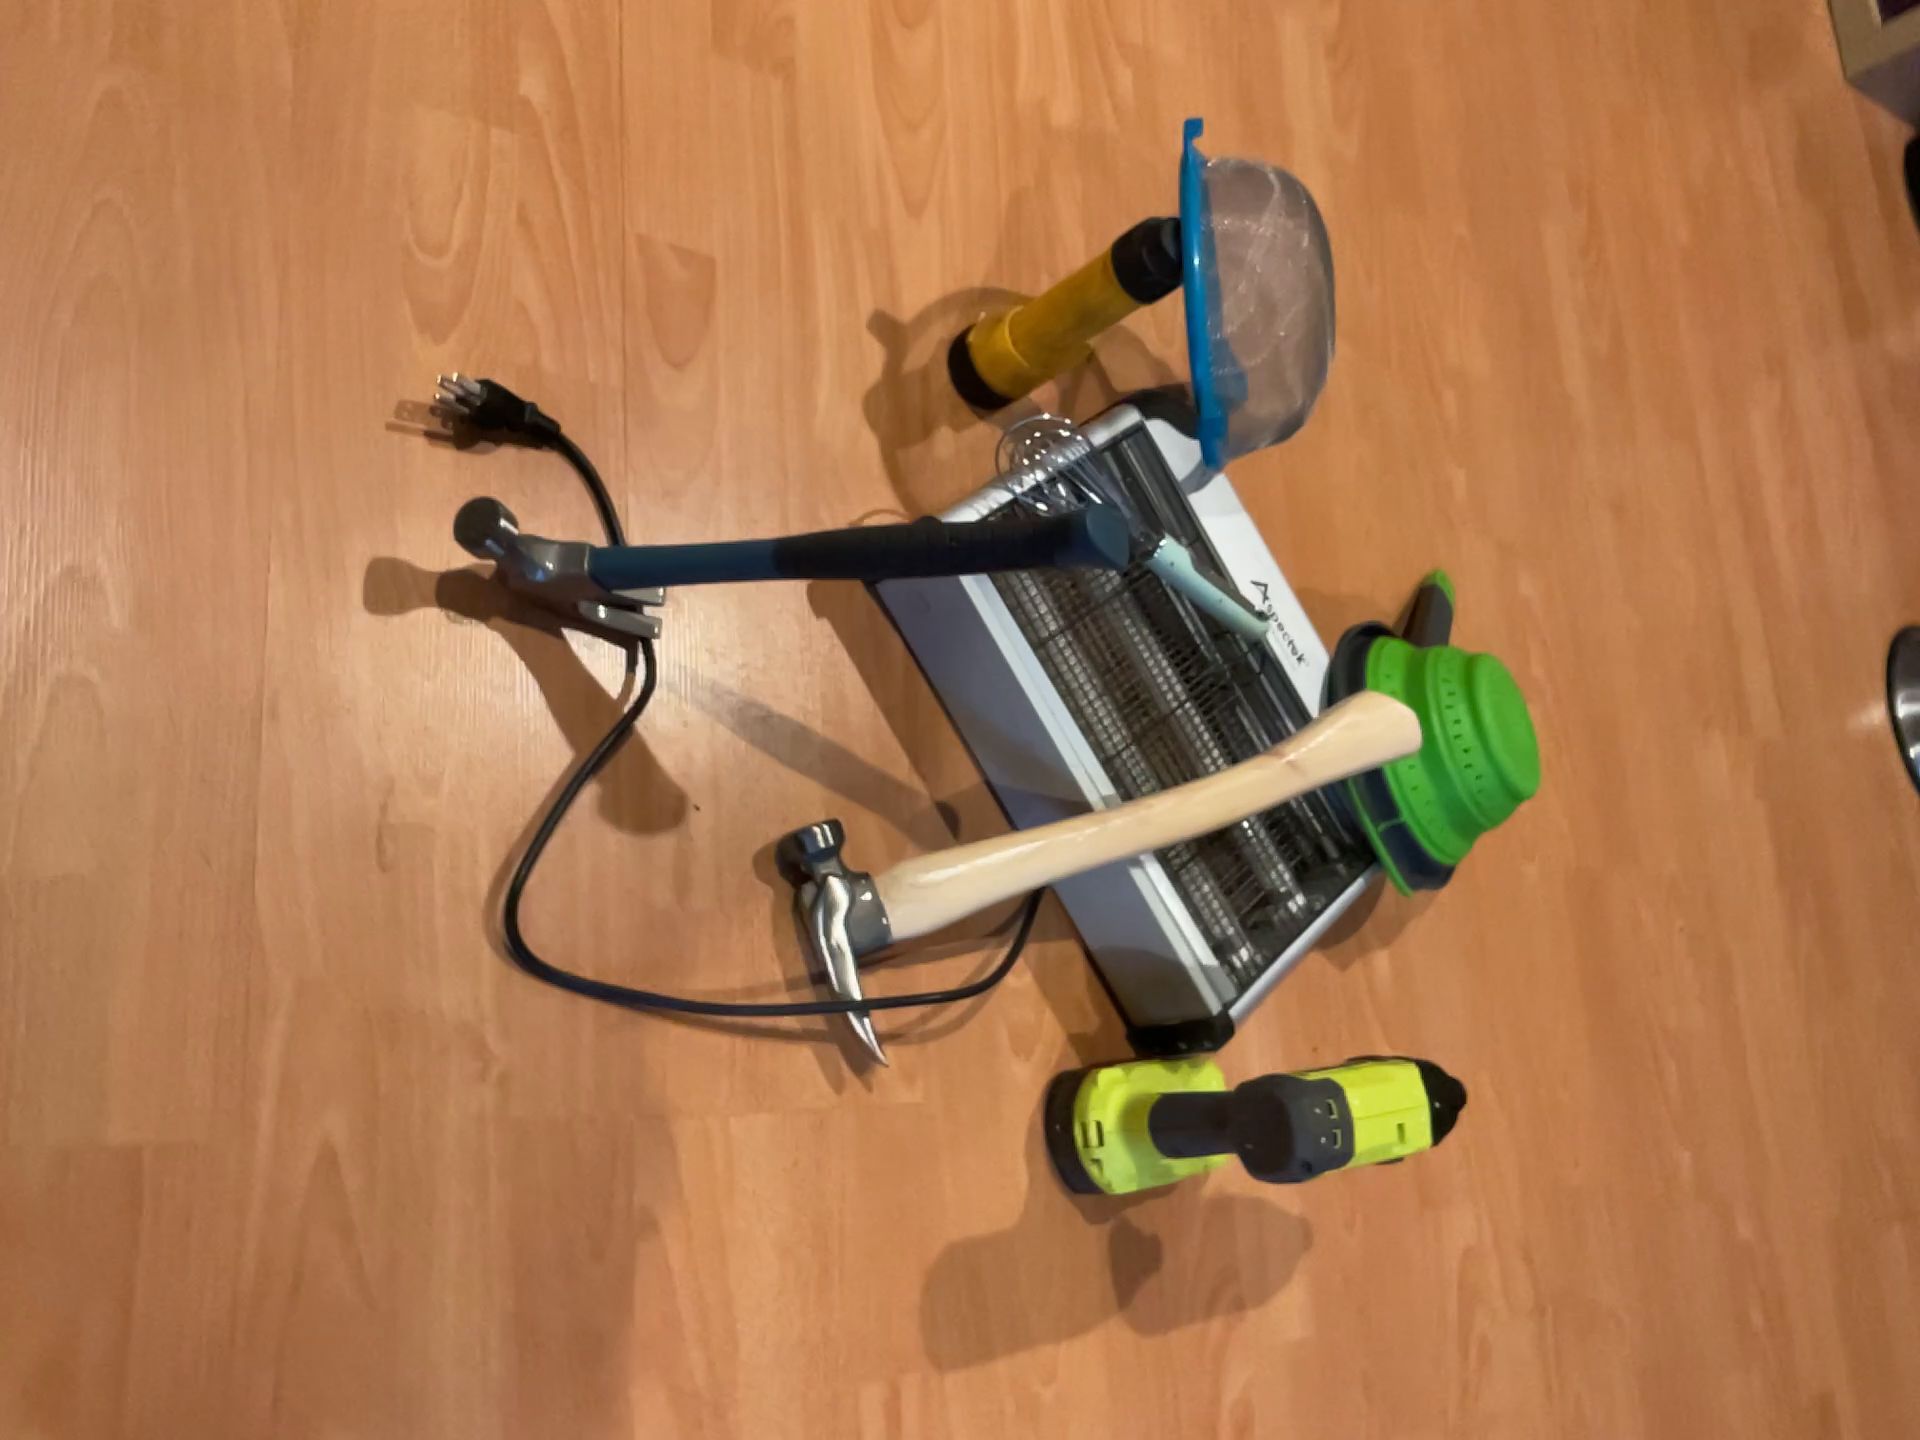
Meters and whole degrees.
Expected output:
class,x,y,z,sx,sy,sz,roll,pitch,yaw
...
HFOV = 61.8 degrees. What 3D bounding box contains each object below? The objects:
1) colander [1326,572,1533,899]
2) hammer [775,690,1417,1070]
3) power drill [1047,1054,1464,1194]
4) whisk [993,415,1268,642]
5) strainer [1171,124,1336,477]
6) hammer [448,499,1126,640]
class,x,y,z,sx,sy,sz,roll,pitch,yaw
colander,0.381,-0.026,1.232,0.204,0.094,0.397,58,34,-18
hammer,0.103,0.076,0.979,0.411,0.038,0.146,-18,87,-16
power drill,0.175,0.239,0.966,0.171,0.223,0.080,2,76,-38
whisk,0.117,-0.118,1.037,0.246,0.059,0.058,33,29,-30
strainer,0.215,-0.270,1.117,0.340,0.095,0.211,0,86,-74
hammer,-0.082,-0.084,0.823,0.128,0.331,0.033,54,36,-67
